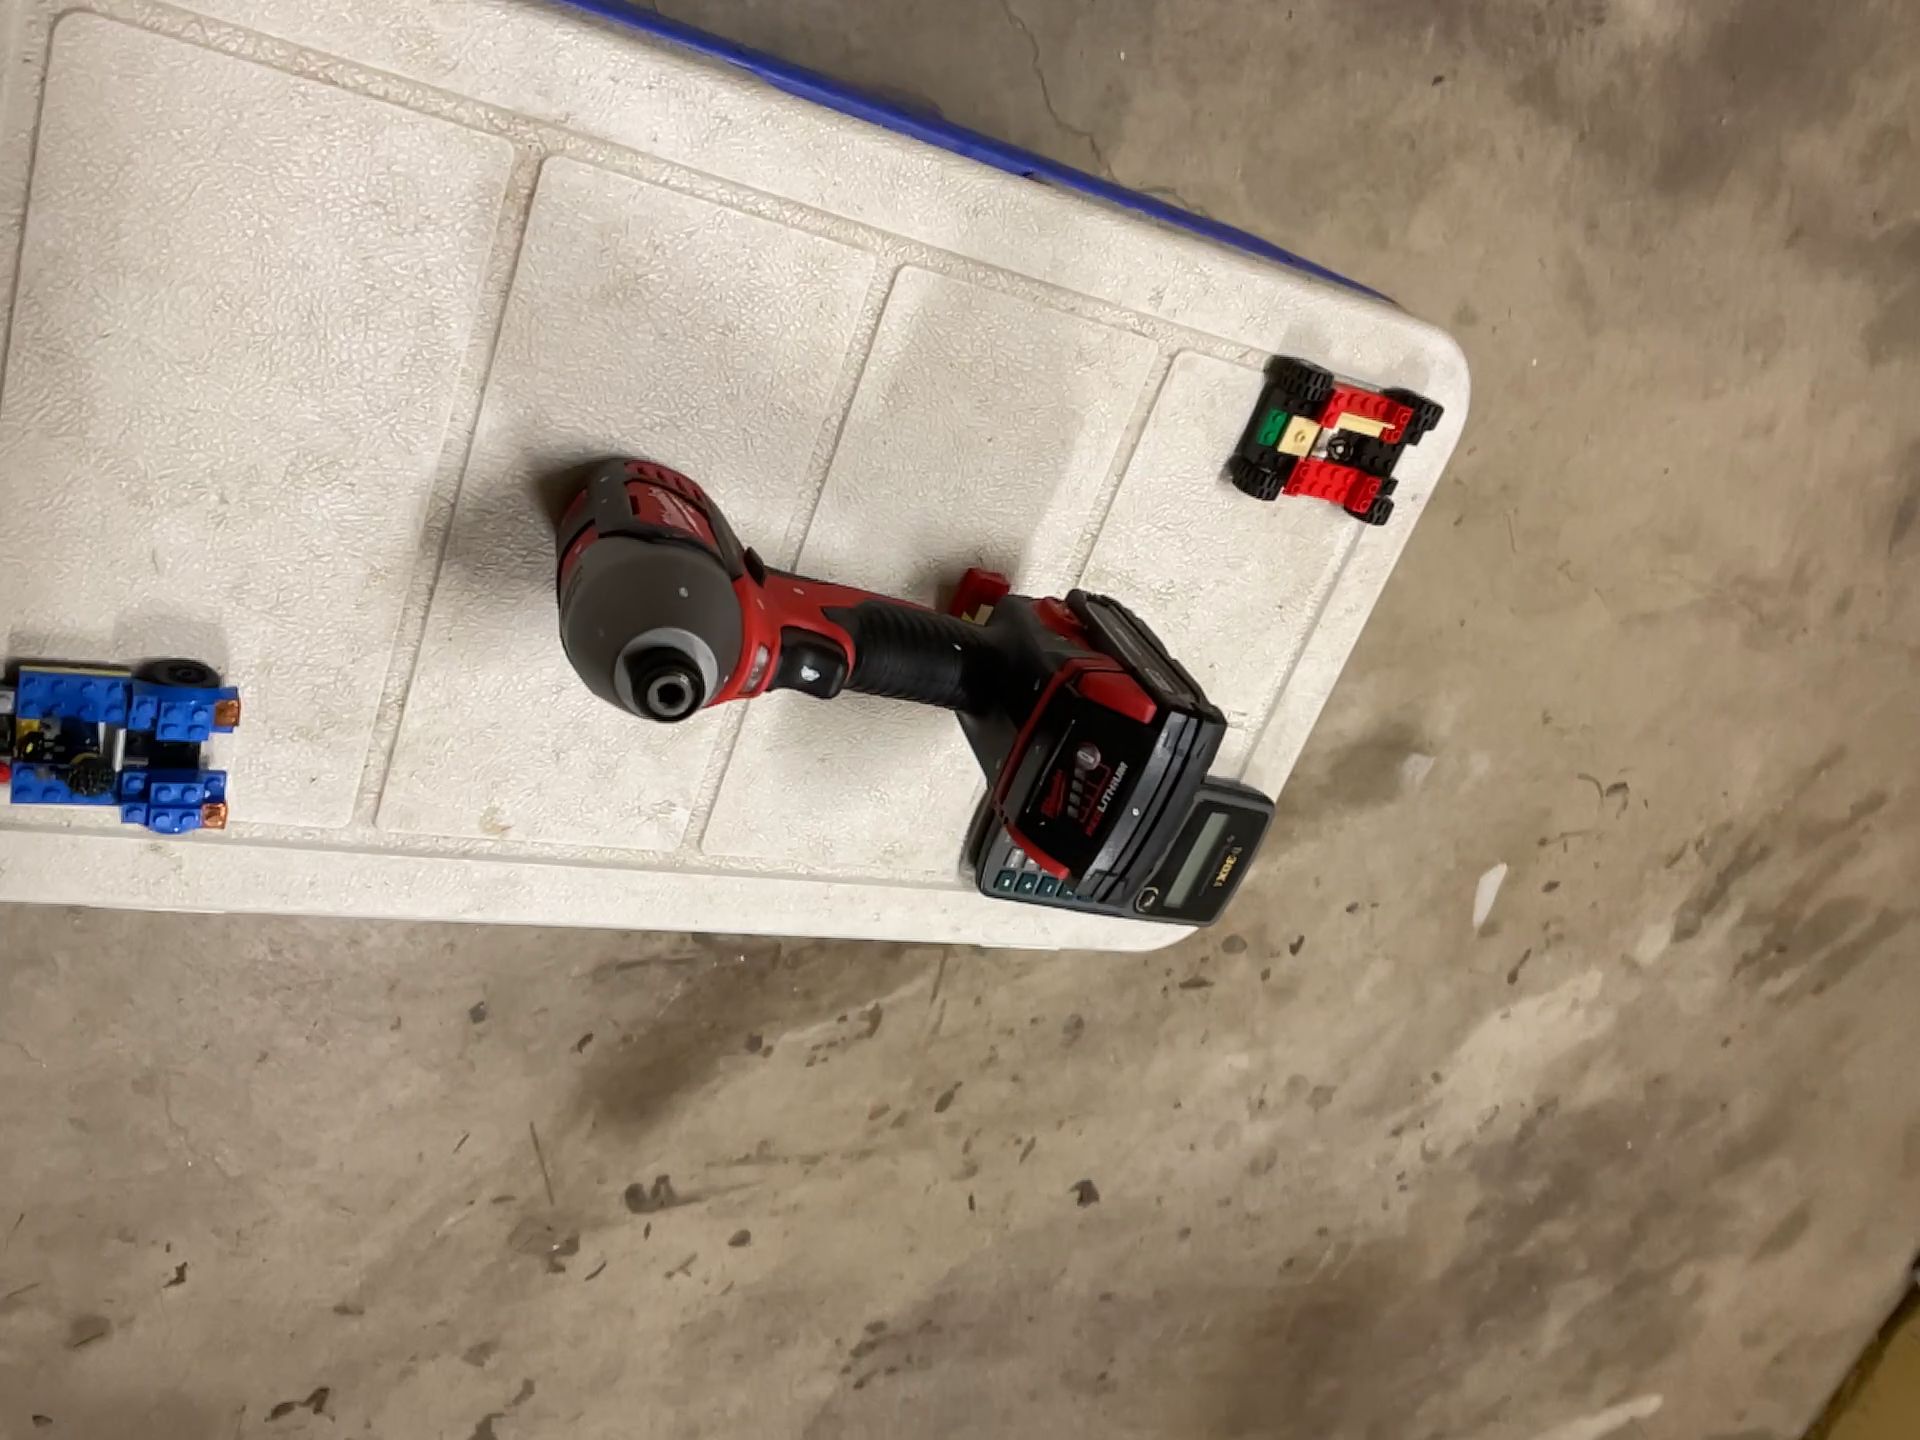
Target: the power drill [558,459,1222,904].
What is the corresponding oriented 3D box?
[{"bbox_3d":[-0.030,-0.016,0.551,0.219,0.143,0.078,18,111,-22],"label":"power drill"}]
